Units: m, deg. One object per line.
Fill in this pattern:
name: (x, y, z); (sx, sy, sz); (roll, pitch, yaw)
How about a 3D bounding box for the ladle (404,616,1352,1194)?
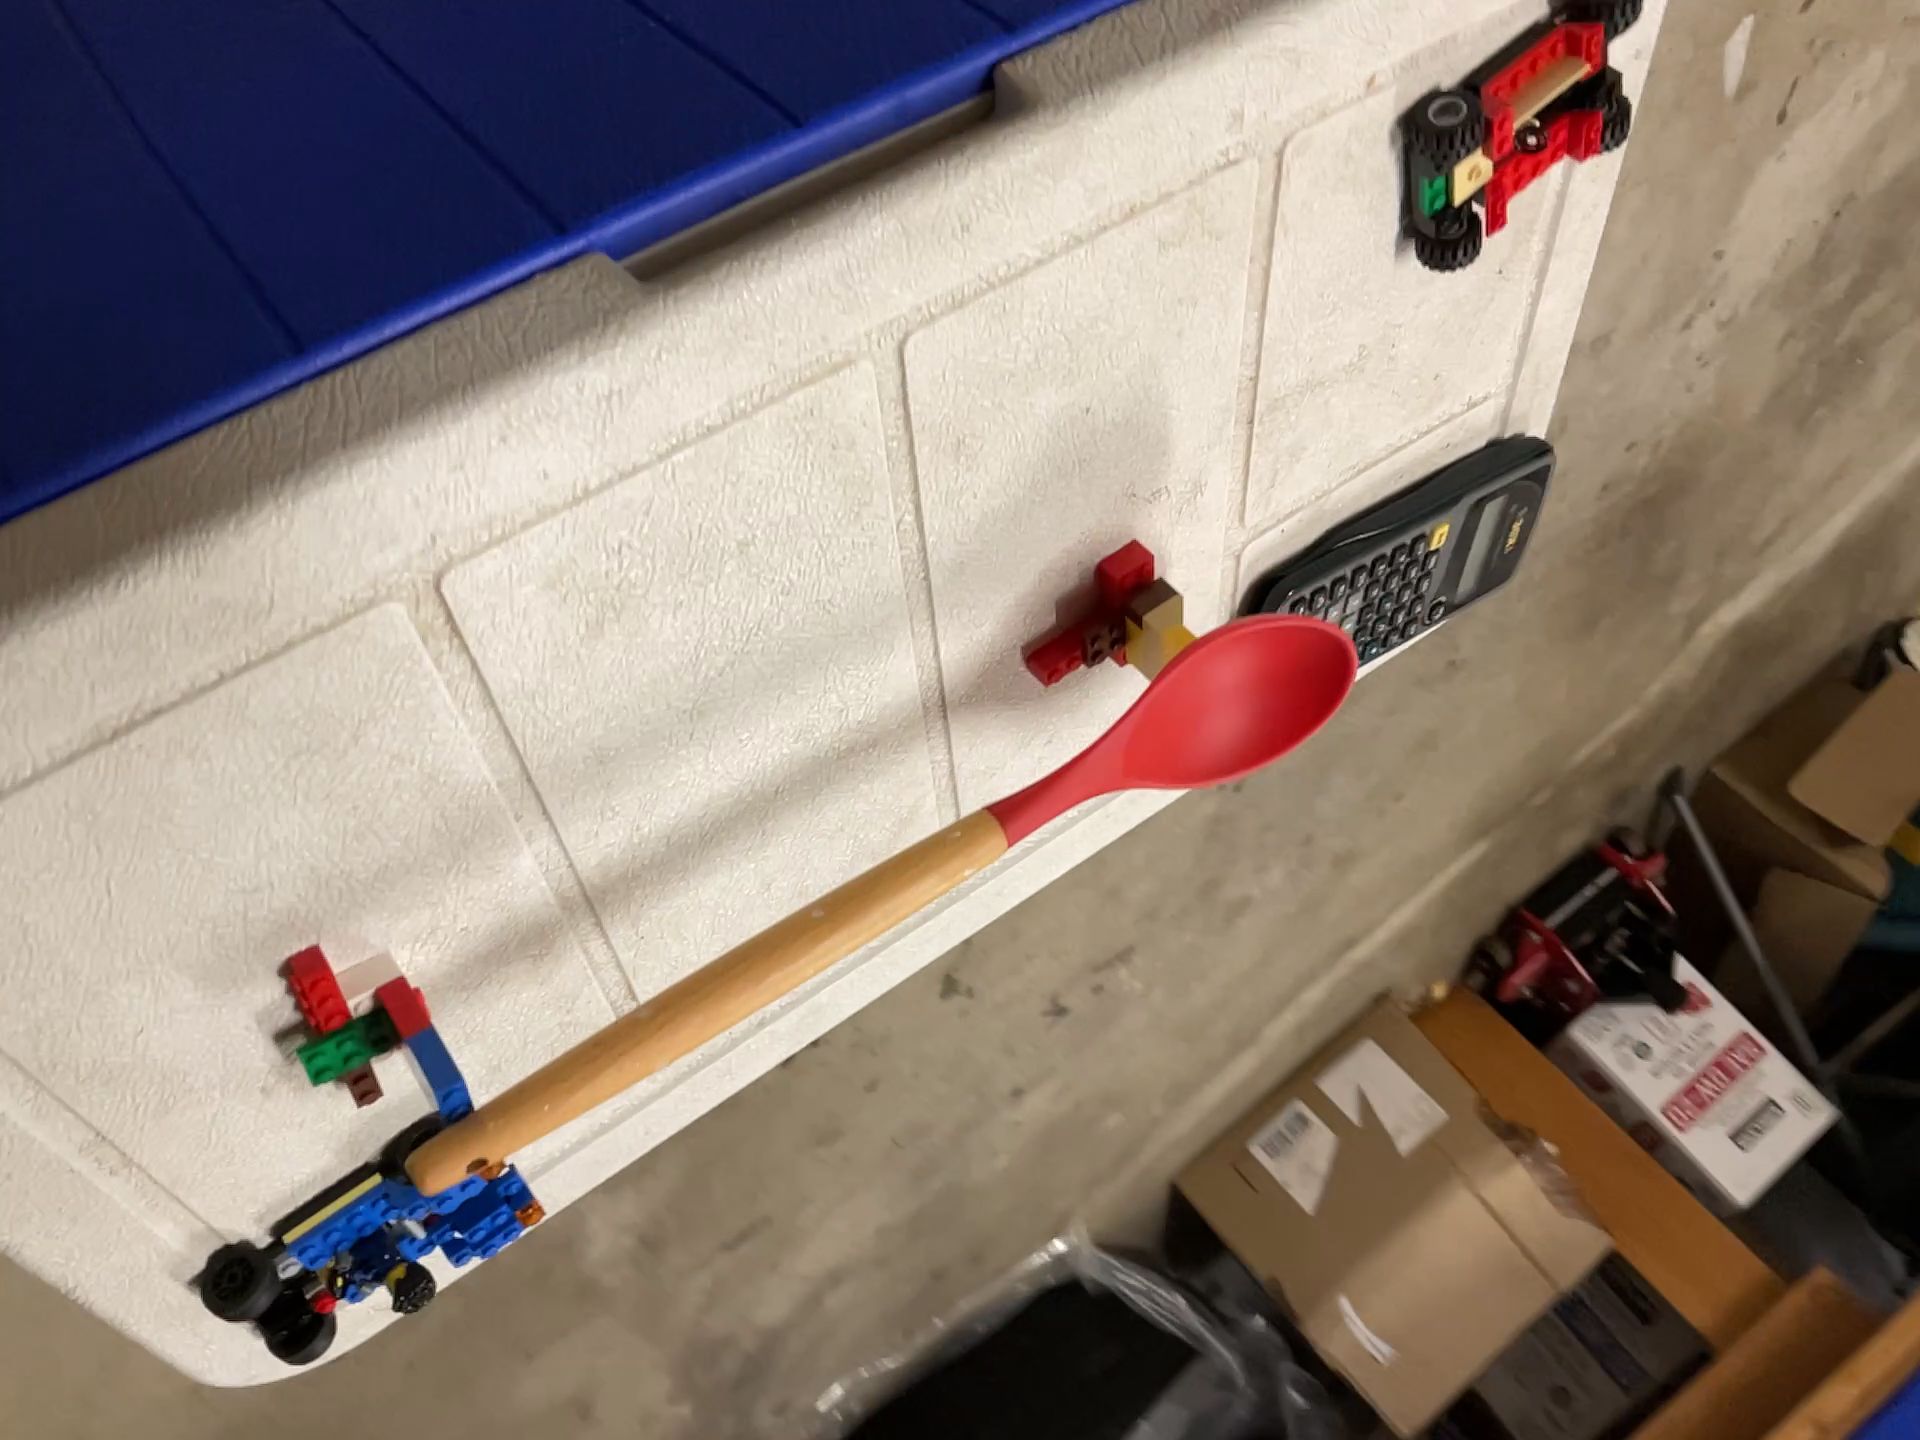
ladle: (-0.012, 0.046, 0.465); (0.315, 0.031, 0.069); (-29, 140, -21)
